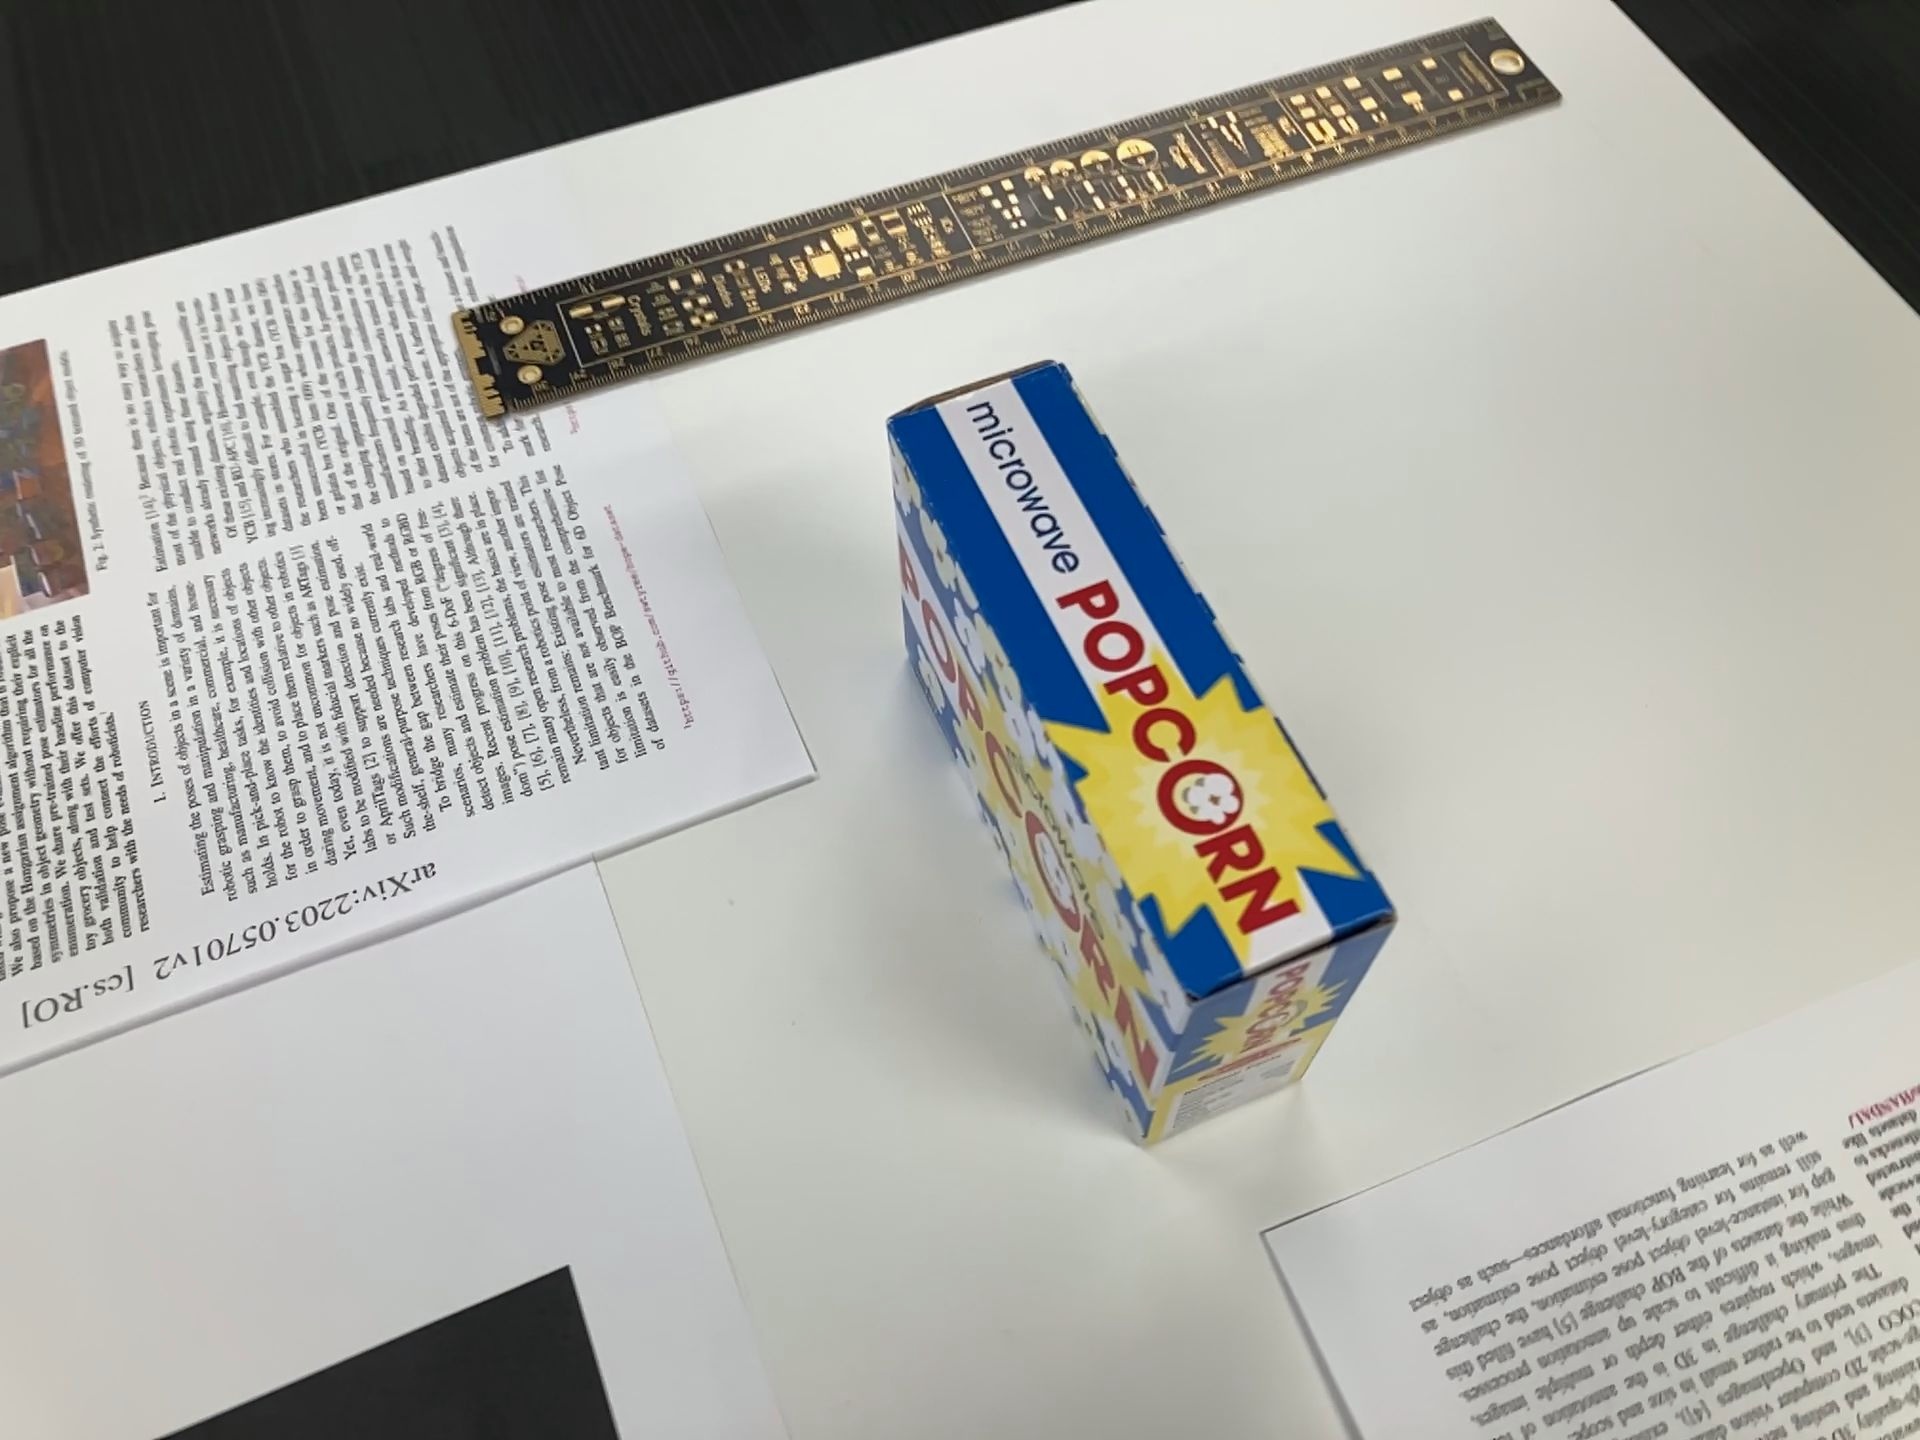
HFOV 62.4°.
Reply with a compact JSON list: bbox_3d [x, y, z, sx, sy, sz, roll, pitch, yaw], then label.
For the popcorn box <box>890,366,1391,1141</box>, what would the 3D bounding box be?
[{"bbox_3d":[0.027,0.007,0.306,0.038,0.085,0.126,-20,62,-11],"label":"popcorn box"}]
